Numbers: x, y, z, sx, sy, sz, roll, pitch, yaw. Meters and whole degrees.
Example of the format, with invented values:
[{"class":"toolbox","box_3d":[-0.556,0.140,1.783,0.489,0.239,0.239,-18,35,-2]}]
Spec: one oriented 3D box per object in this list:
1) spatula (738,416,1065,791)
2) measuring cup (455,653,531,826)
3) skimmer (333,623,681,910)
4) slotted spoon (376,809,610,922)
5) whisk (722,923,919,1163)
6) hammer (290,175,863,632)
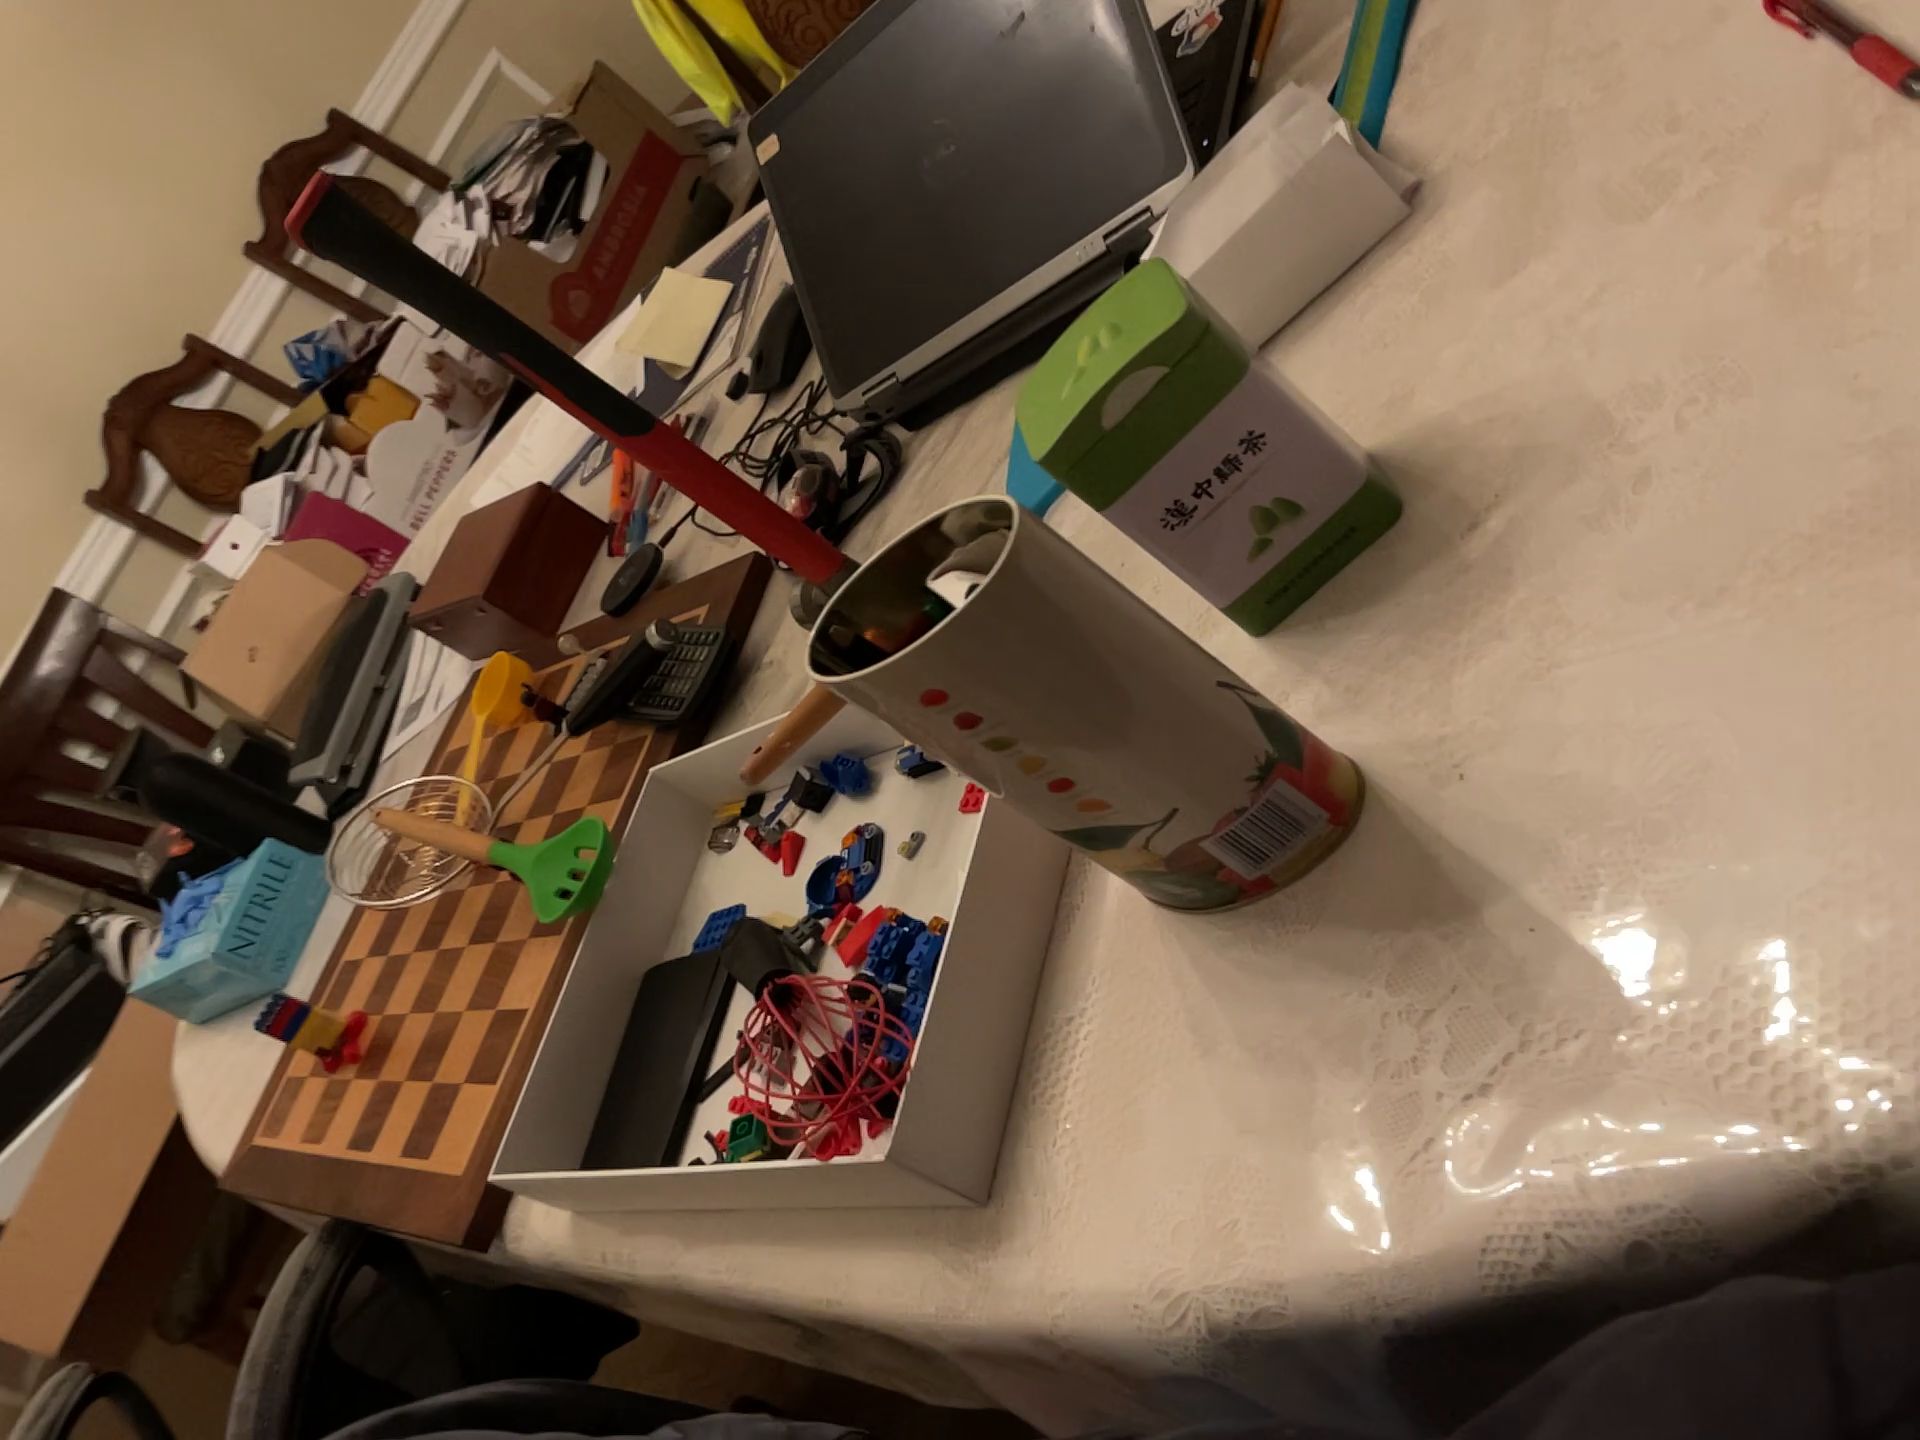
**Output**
[{"class":"spatula","box_3d":[-0.018,-0.078,0.844,0.082,0.044,0.317,-6,35,52]},{"class":"measuring cup","box_3d":[-0.389,0.021,1.321,0.062,0.029,0.156,-12,64,47]},{"class":"skimmer","box_3d":[-0.334,0.025,1.151,0.363,0.090,0.127,-39,32,34]},{"class":"slotted spoon","box_3d":[-0.312,0.081,1.037,0.314,0.031,0.070,6,68,47]},{"class":"whisk","box_3d":[-0.079,0.133,0.736,0.073,0.073,0.296,-40,14,-8]},{"class":"hammer","box_3d":[-0.177,-0.167,0.873,0.143,0.385,0.038,-11,52,51]}]
